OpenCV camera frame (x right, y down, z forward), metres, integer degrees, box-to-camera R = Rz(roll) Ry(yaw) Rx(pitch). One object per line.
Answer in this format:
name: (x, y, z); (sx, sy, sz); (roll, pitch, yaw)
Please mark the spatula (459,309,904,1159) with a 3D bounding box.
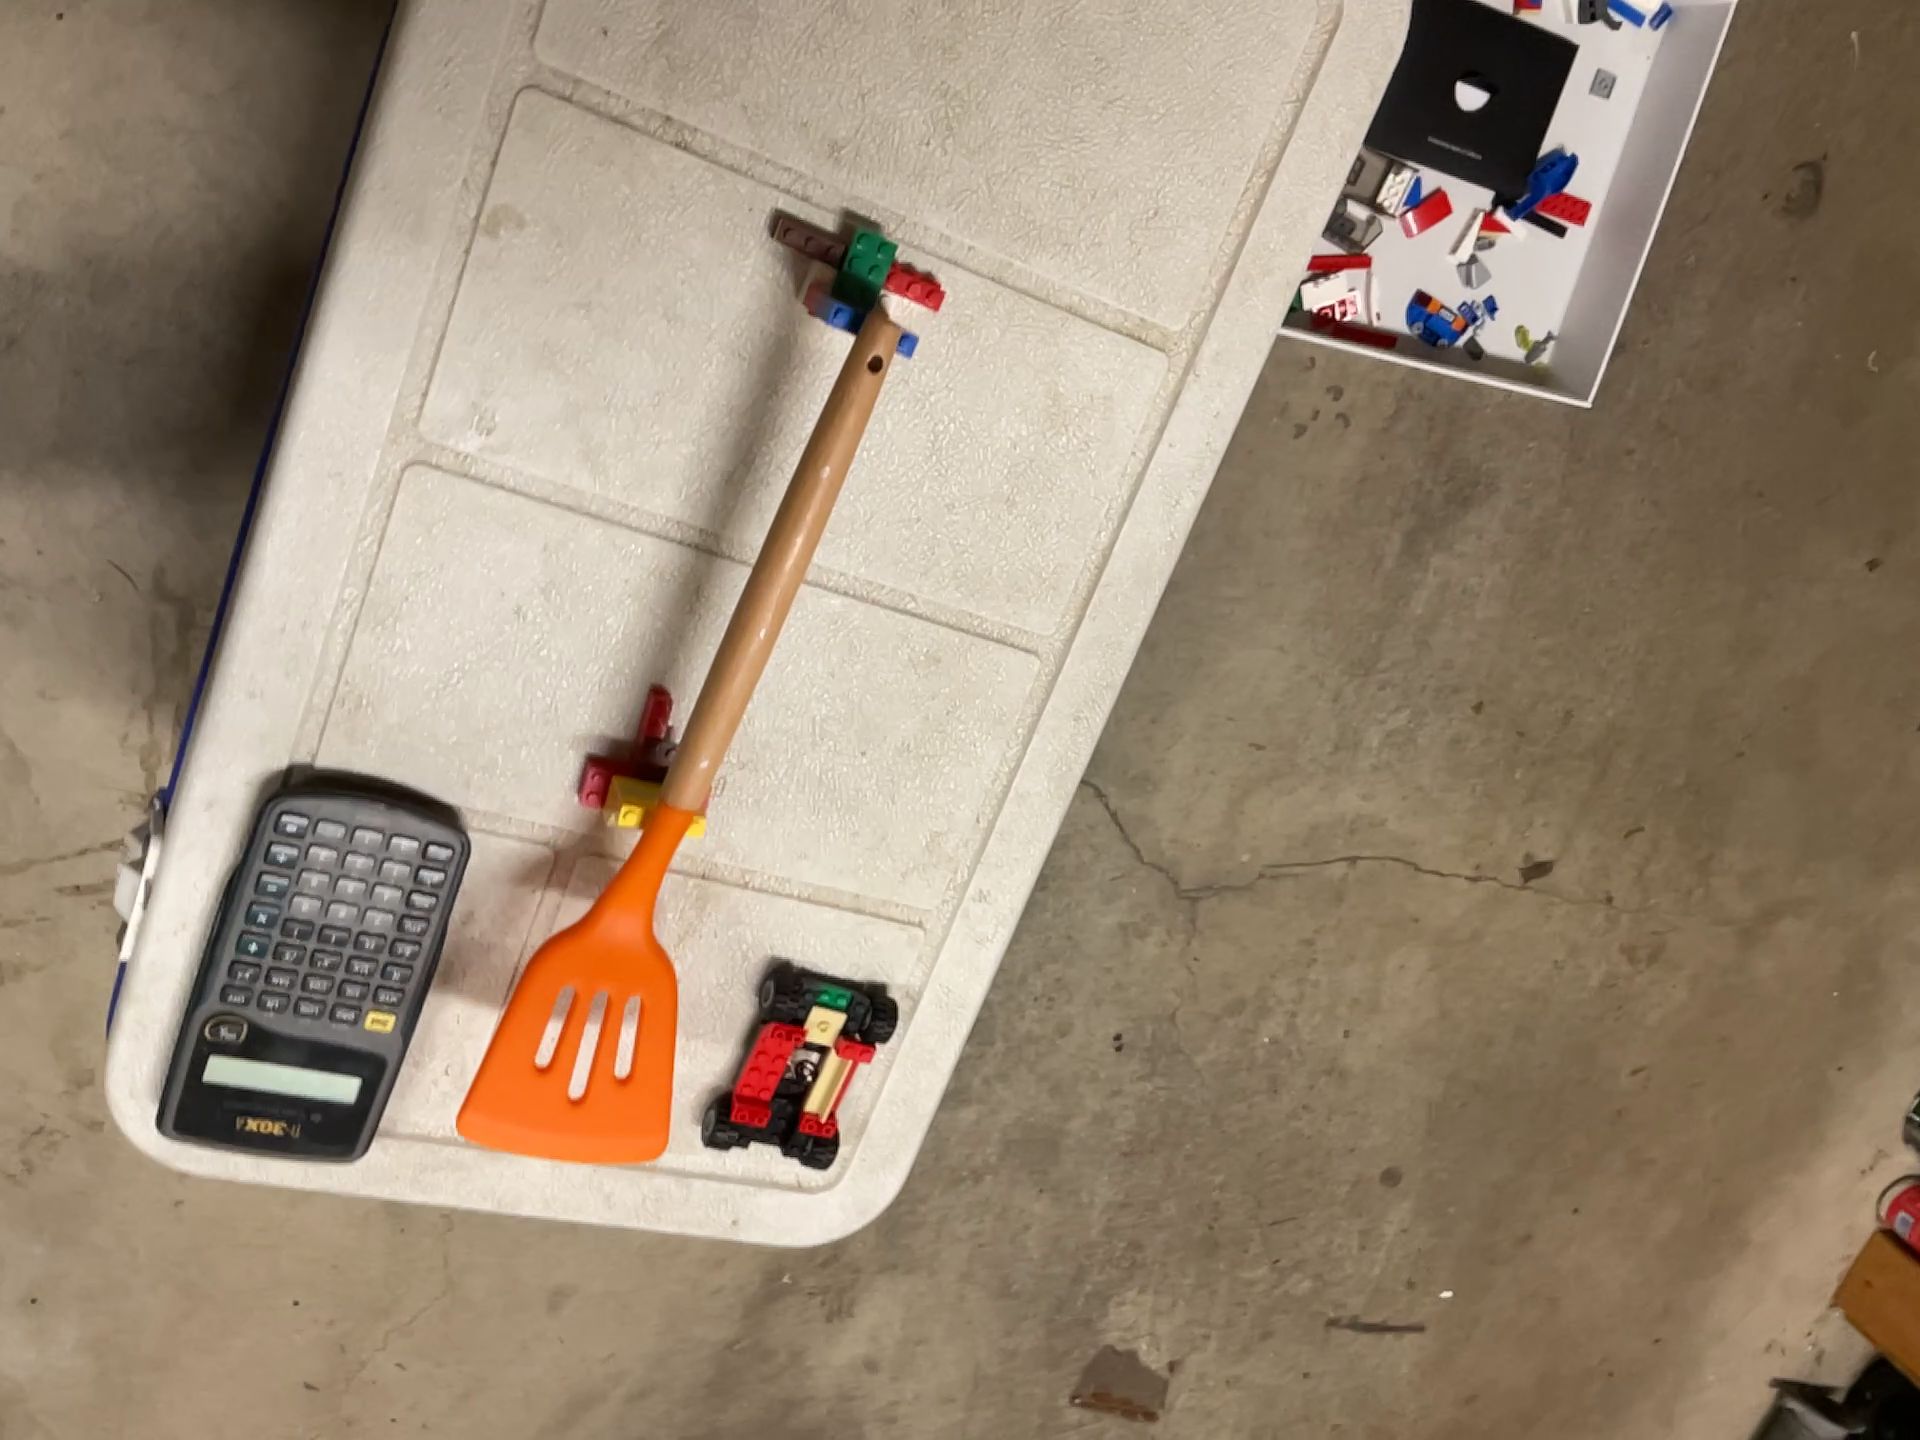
spatula: (-0.087, 0.011, 0.561); (0.081, 0.041, 0.322); (17, 107, -28)
